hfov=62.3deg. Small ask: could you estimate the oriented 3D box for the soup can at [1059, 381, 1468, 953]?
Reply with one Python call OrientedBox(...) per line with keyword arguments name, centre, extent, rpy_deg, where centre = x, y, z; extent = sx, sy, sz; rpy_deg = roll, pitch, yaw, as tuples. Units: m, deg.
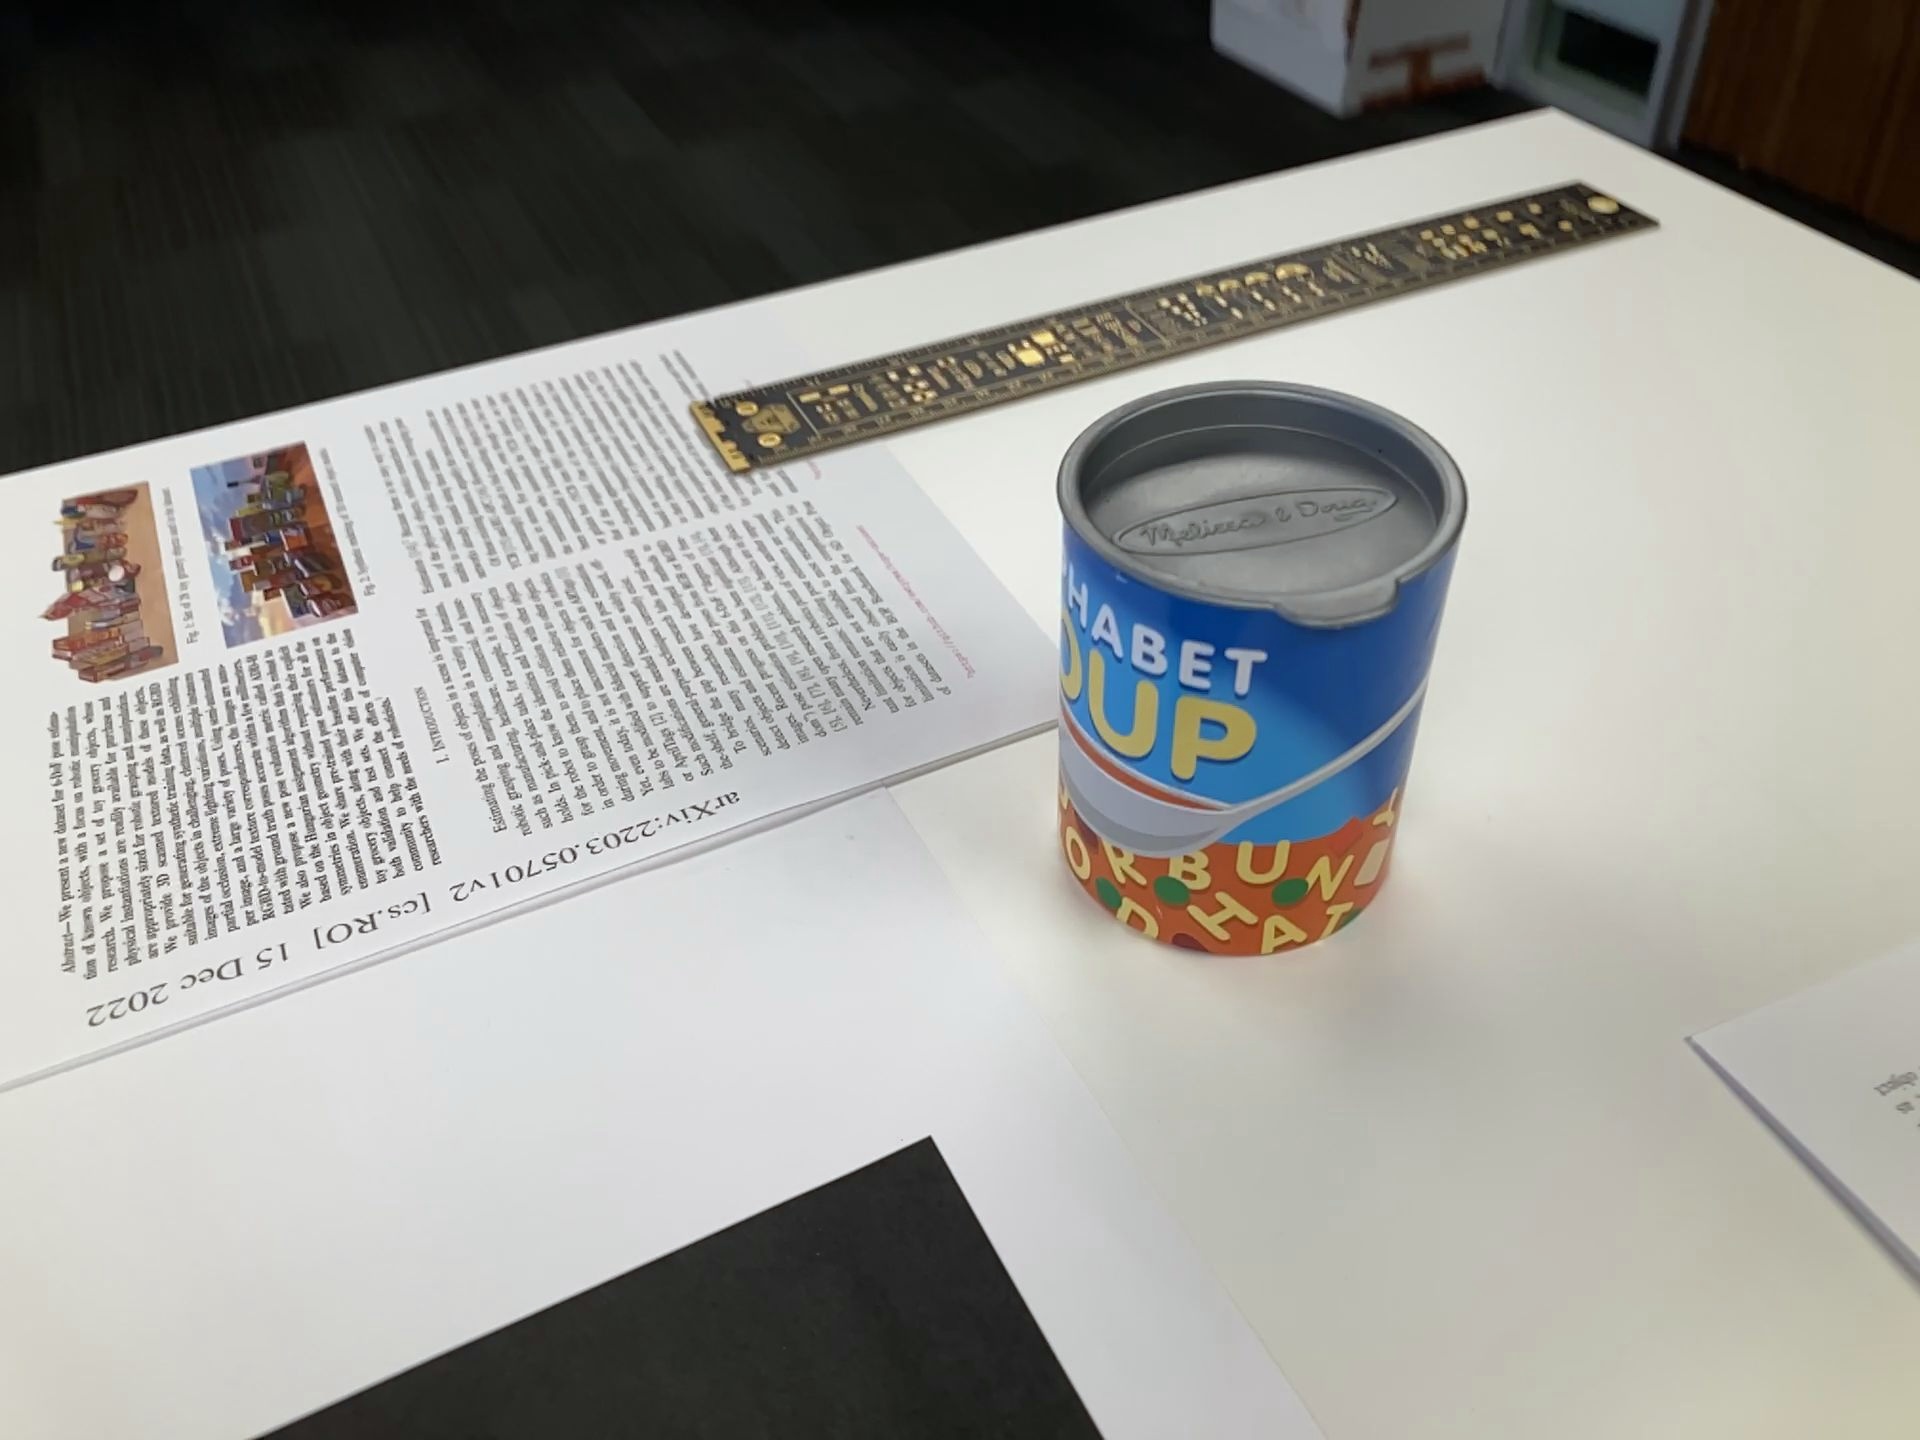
OrientedBox(name="soup can", centre=(0.049, -0.008, 0.289), extent=(0.071, 0.084, 0.071), rpy_deg=(-1, 41, 1))
